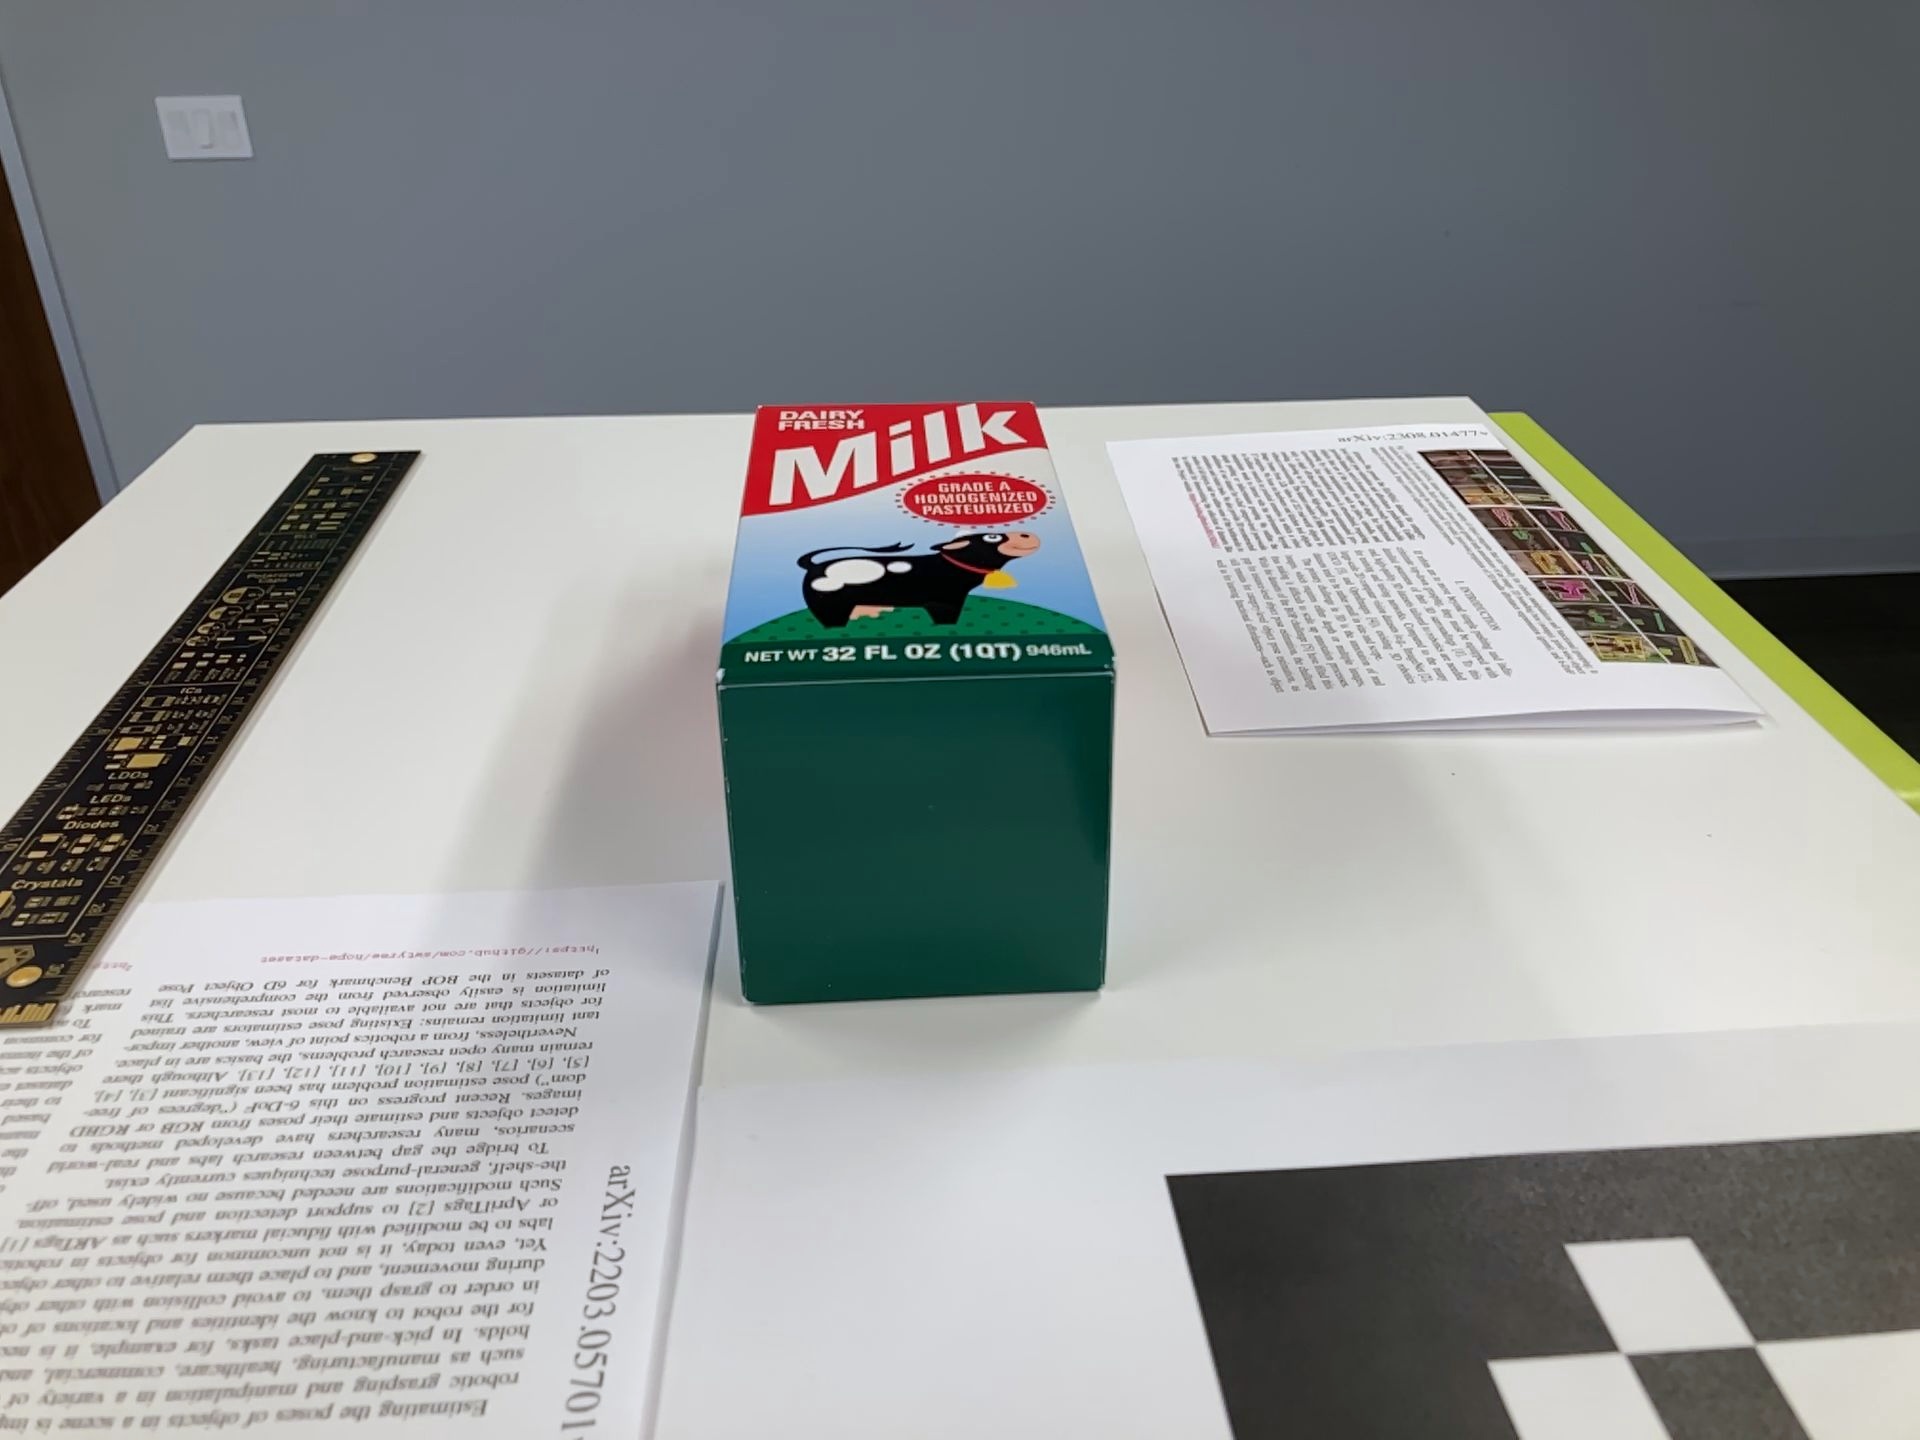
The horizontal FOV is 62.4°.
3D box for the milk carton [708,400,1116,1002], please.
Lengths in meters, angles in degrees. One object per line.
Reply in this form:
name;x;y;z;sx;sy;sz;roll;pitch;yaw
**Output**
milk carton;-0.012;-0.024;0.367;0.072;0.073;0.190;-3;29;-3
